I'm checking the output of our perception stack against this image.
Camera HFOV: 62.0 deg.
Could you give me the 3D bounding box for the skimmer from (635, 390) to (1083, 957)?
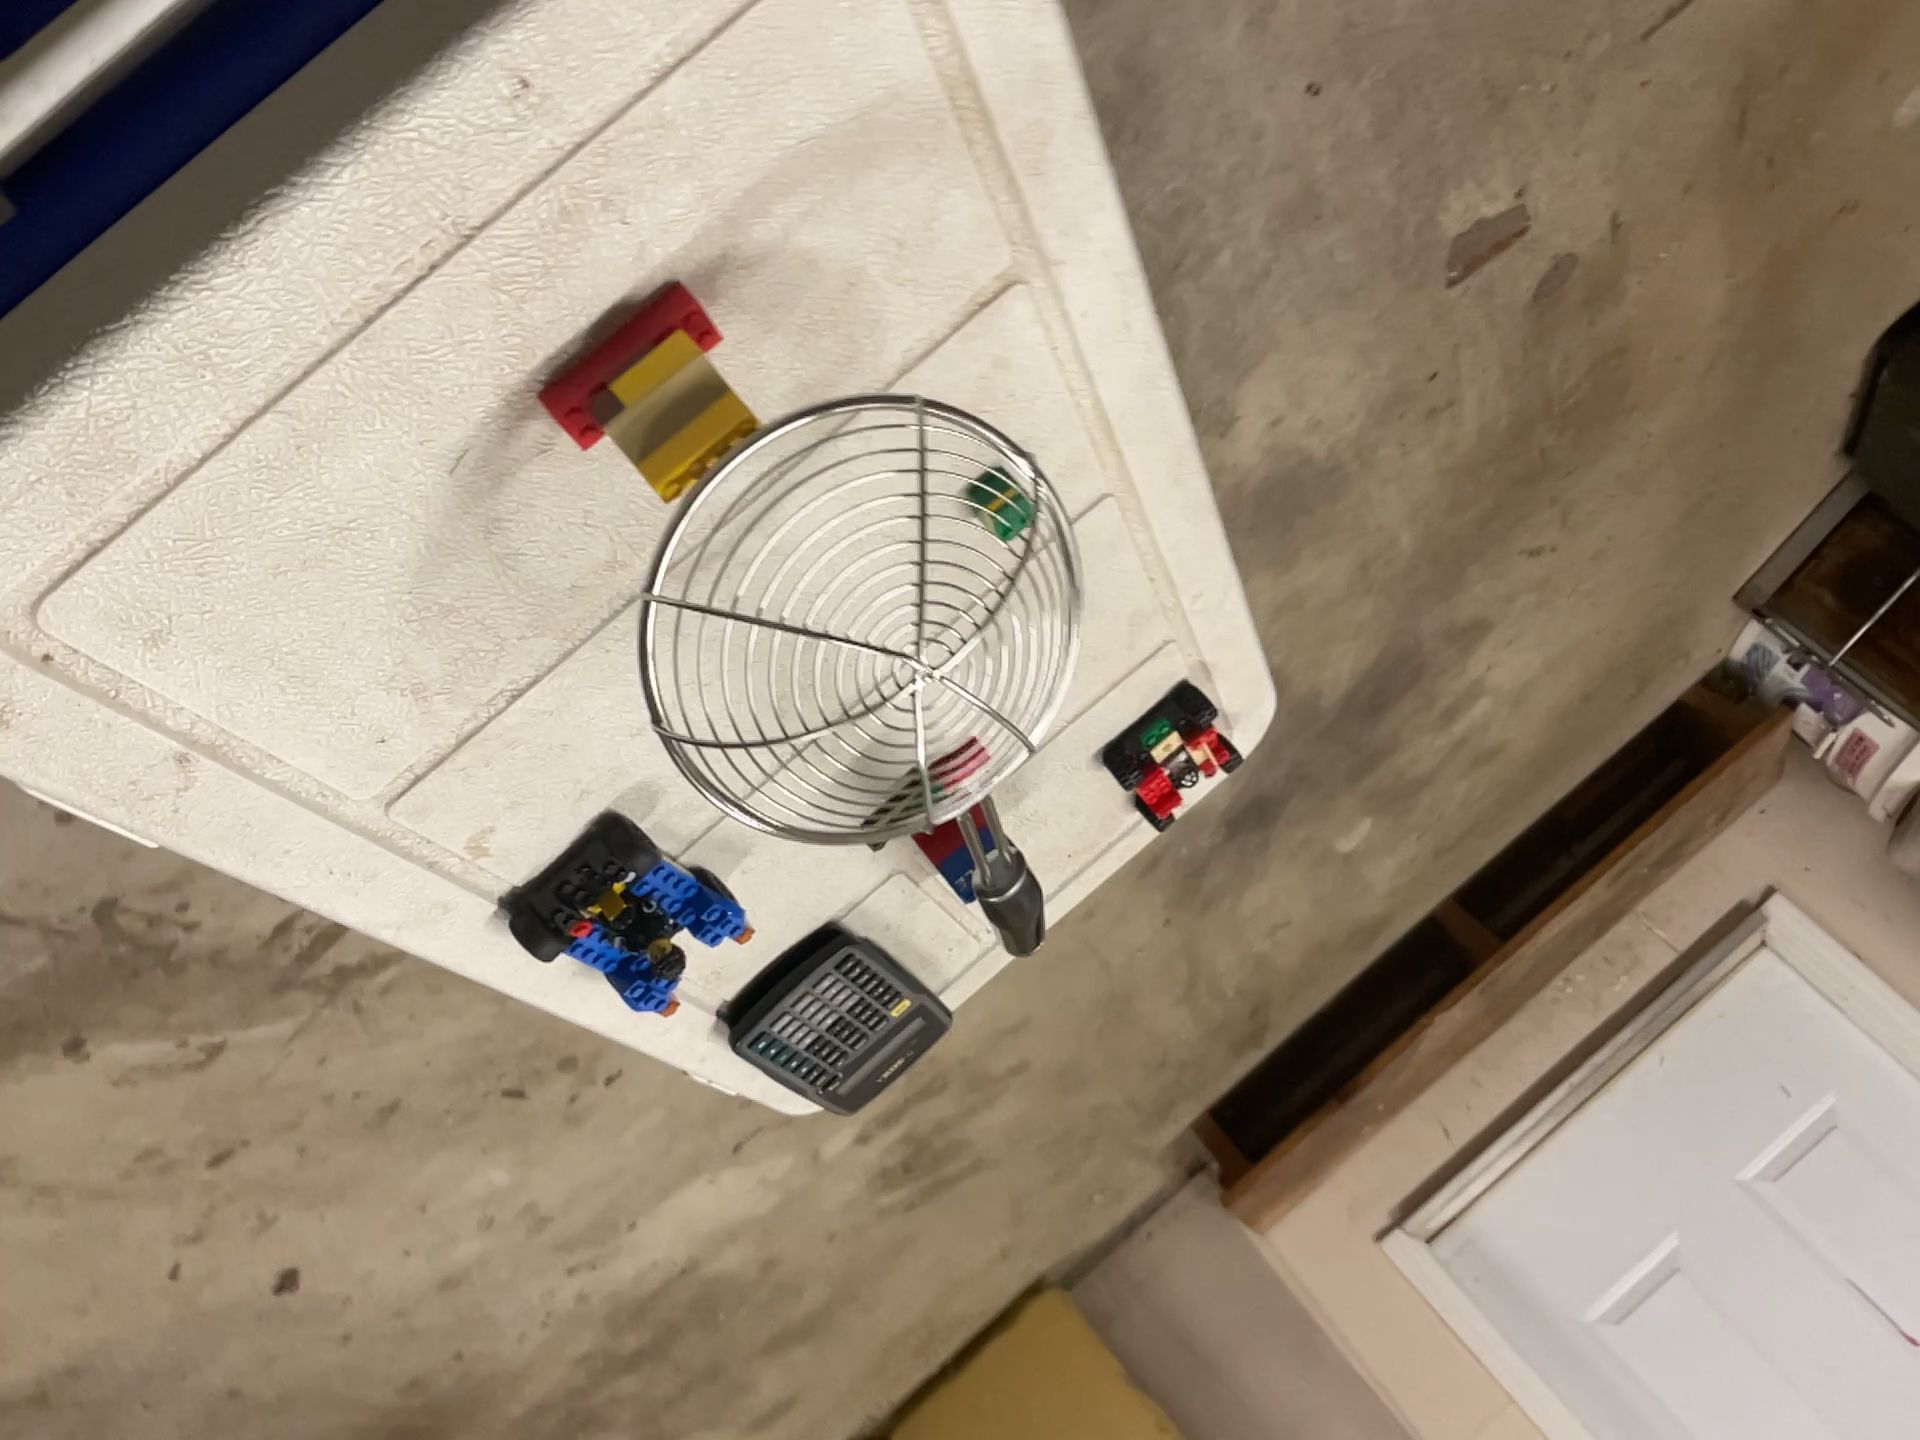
[{"bbox_3d":[-0.009,0.017,0.553,0.127,0.090,0.363,-38,162,-6],"label":"skimmer"}]
